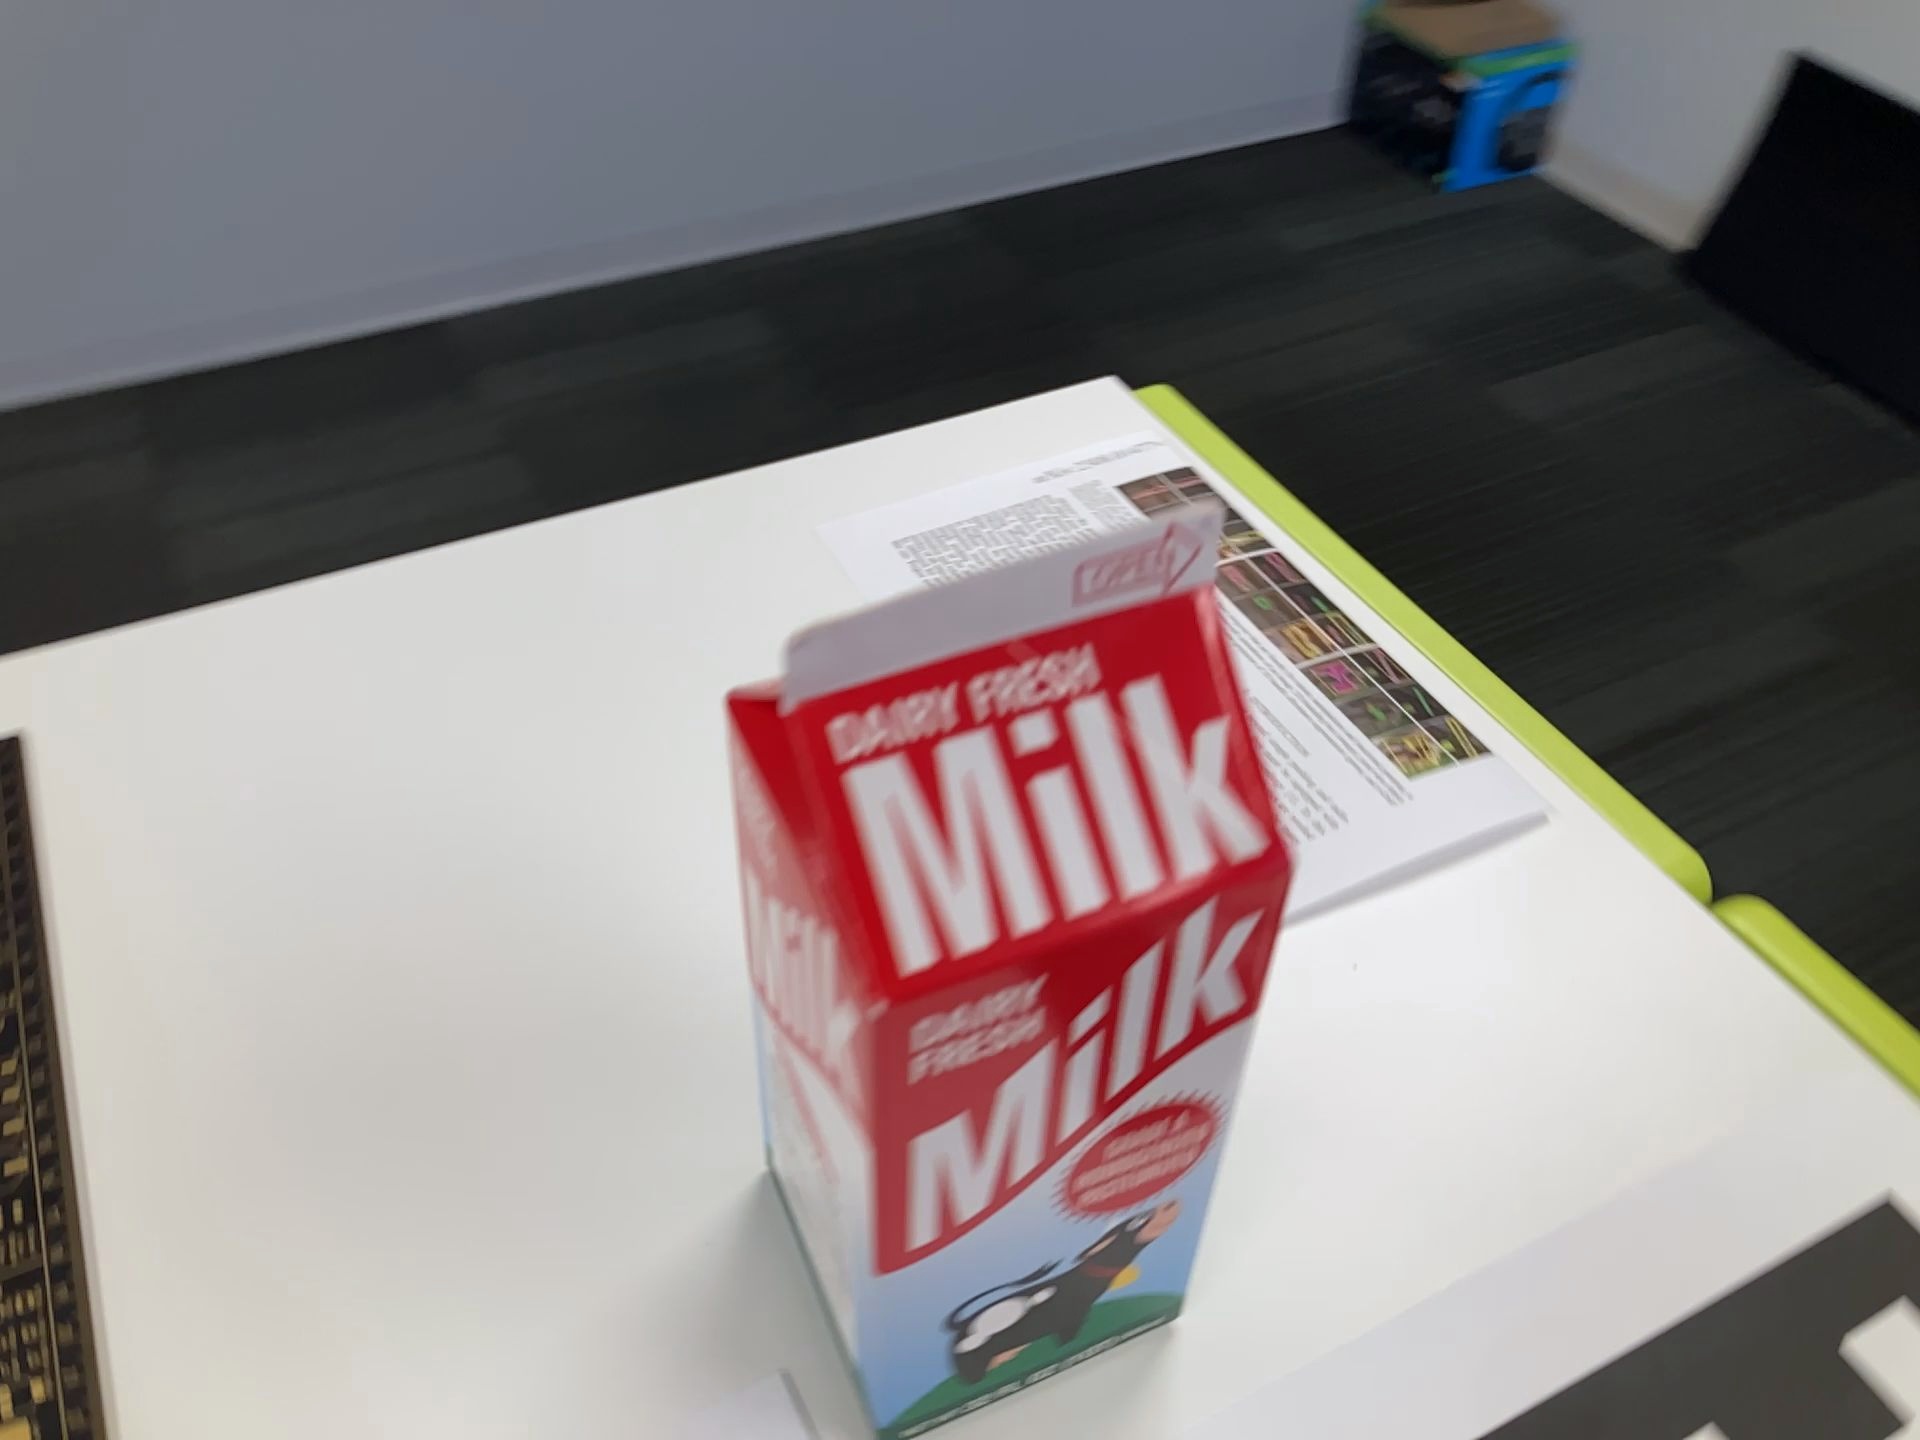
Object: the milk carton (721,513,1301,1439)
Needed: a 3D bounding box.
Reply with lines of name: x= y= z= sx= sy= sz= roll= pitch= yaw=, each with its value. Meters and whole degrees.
milk carton: x=0.004 y=0.047 z=0.287 sx=0.072 sy=0.190 sz=0.073 roll=-16 pitch=46 yaw=-18
